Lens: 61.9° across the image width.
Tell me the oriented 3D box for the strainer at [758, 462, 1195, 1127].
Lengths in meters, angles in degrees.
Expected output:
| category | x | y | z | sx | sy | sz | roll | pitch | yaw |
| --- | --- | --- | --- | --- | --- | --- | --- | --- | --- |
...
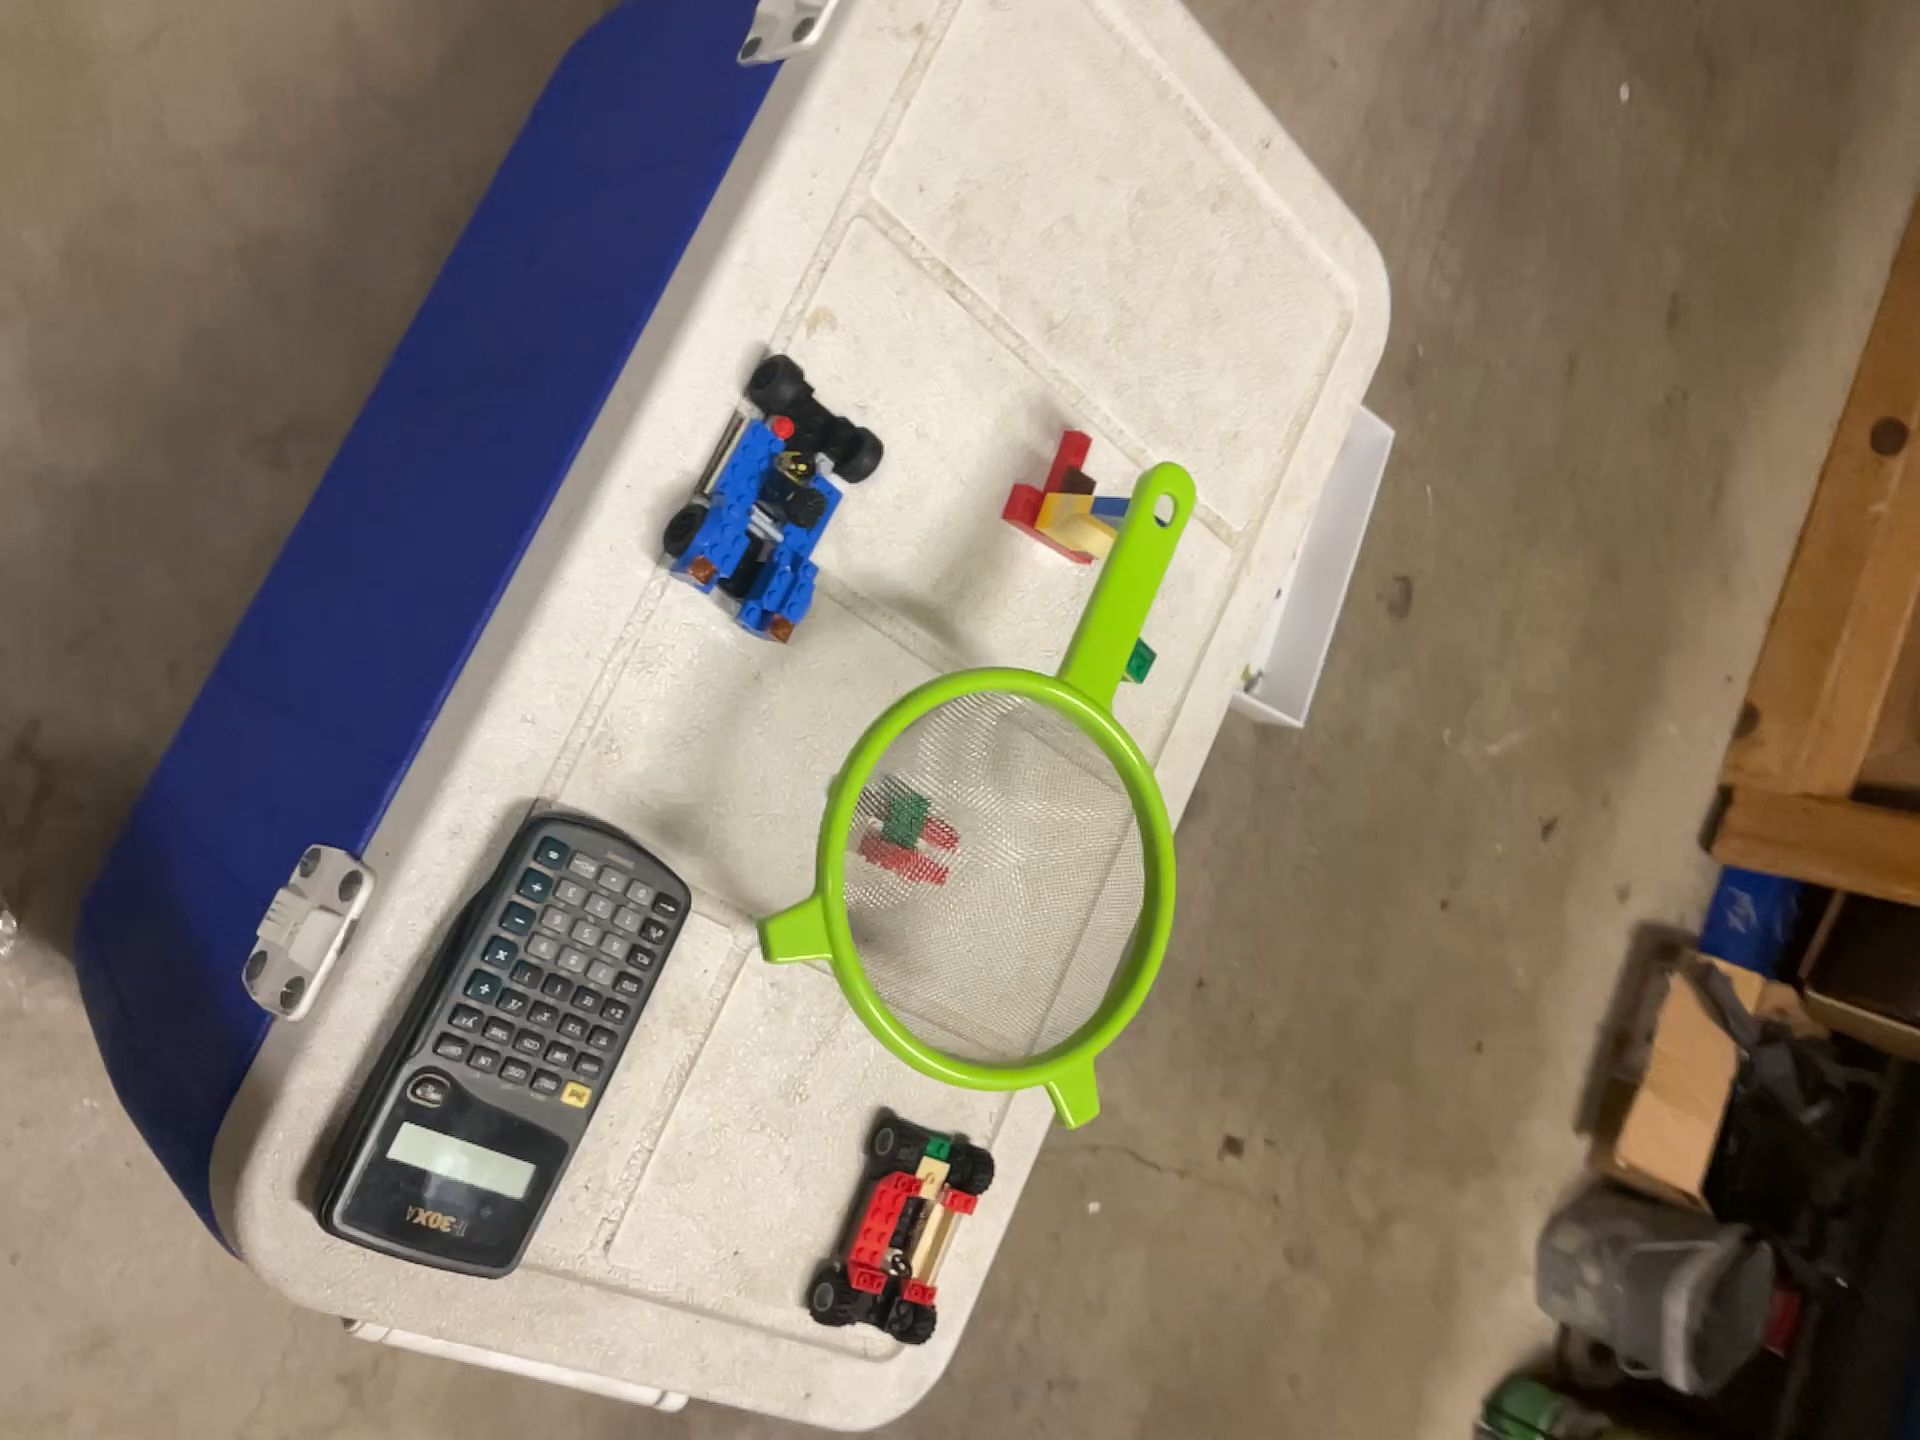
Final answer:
| category | x | y | z | sx | sy | sz | roll | pitch | yaw |
| --- | --- | --- | --- | --- | --- | --- | --- | --- | --- |
| strainer | 0.023 | 0.012 | 0.613 | 0.151 | 0.069 | 0.256 | 34 | 68 | -25 |
